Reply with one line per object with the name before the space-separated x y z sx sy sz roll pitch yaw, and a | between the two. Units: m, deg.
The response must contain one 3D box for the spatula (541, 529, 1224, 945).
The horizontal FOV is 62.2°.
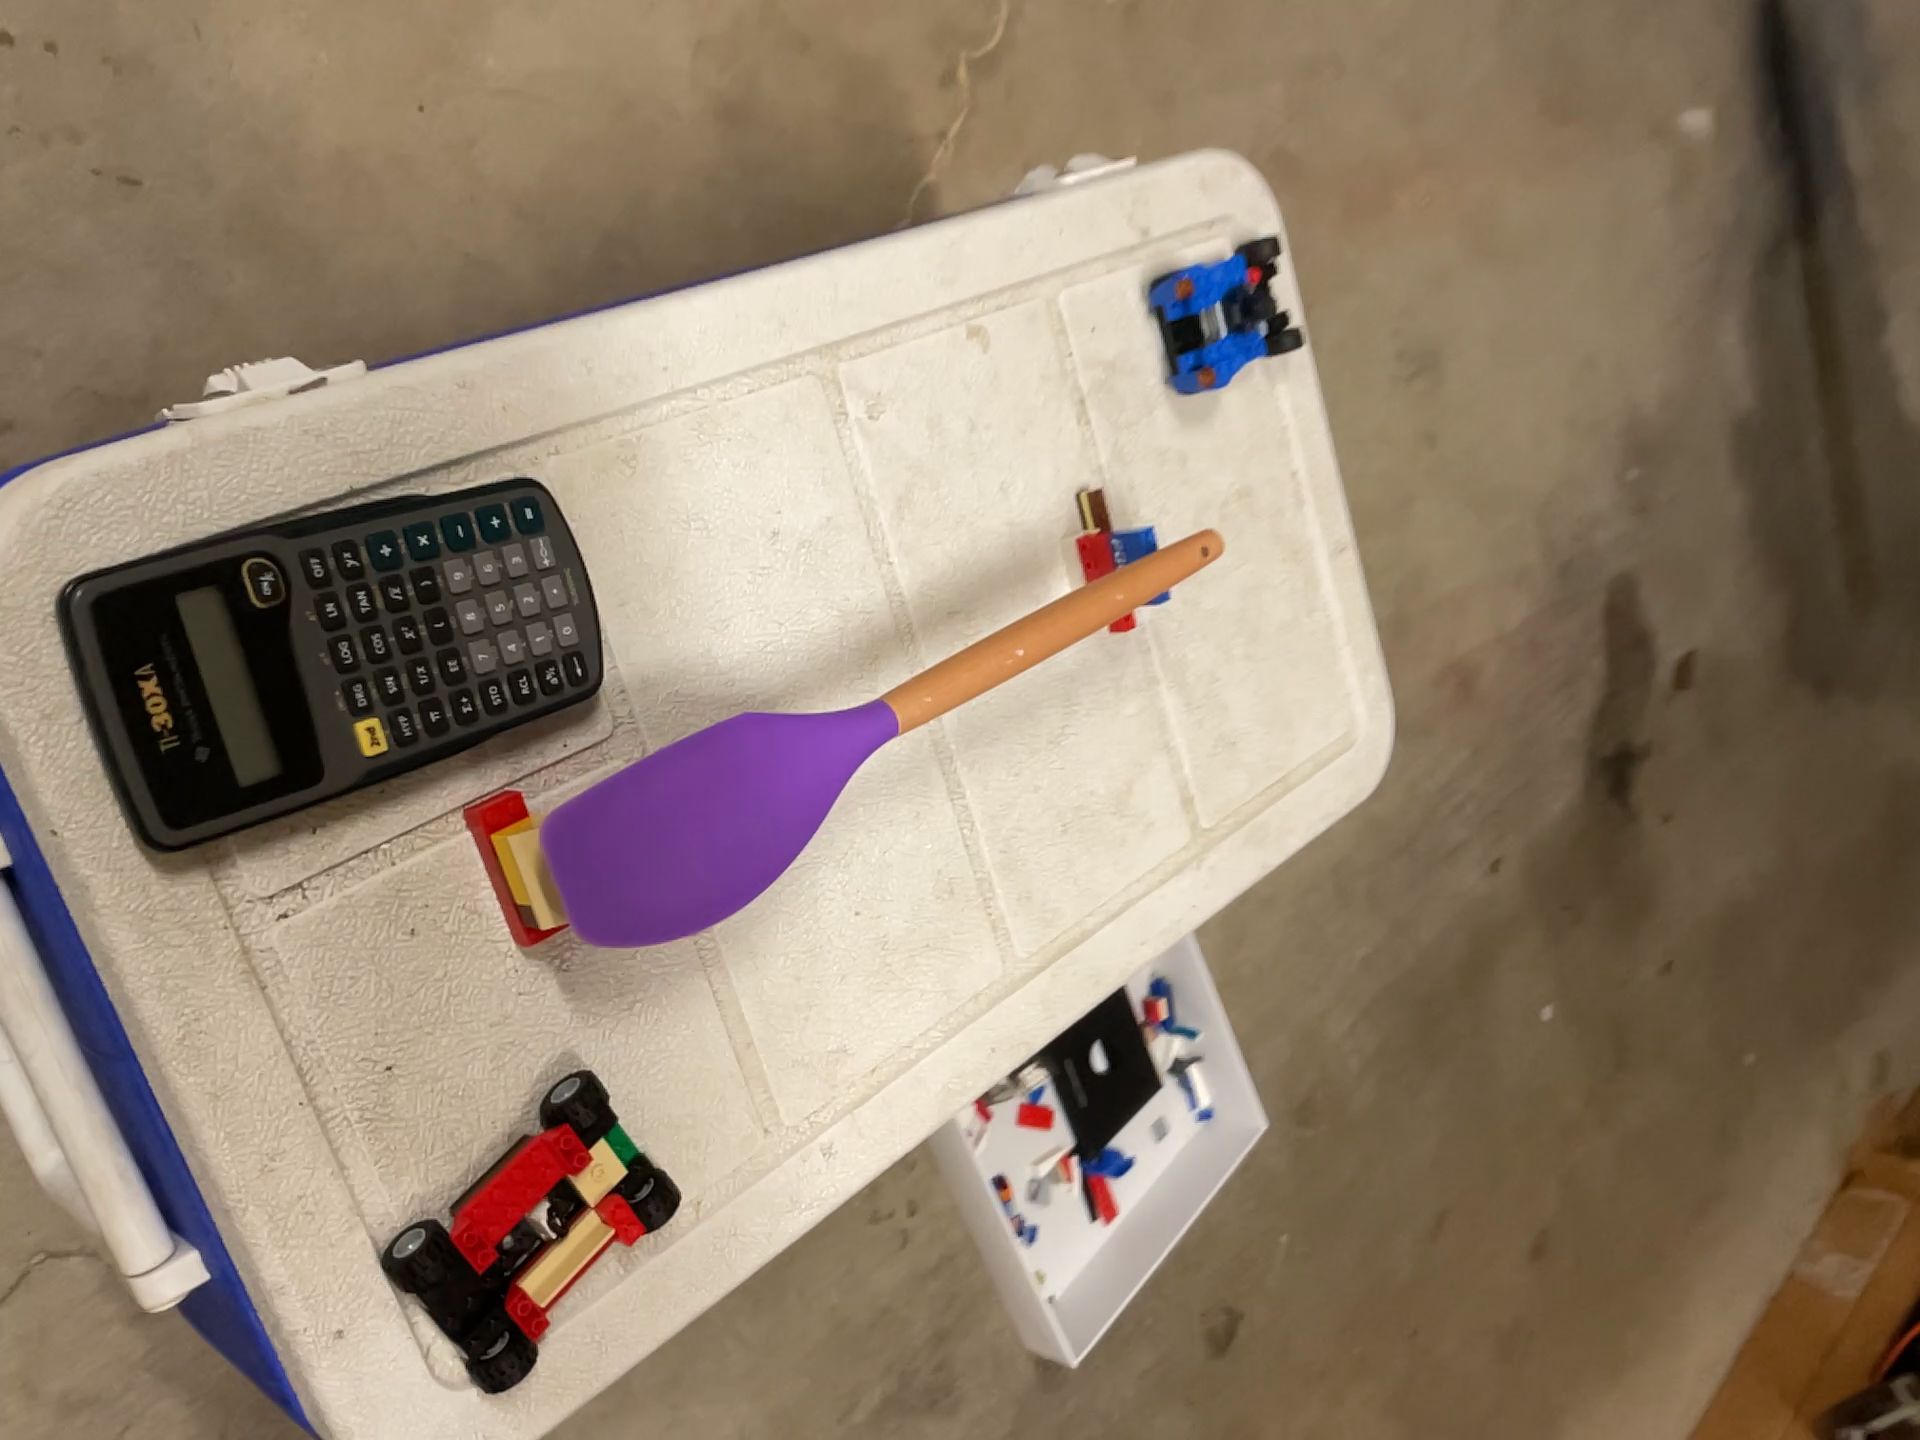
spatula | -0.007 -0.009 0.568 0.316 0.018 0.060 -30 109 -36
